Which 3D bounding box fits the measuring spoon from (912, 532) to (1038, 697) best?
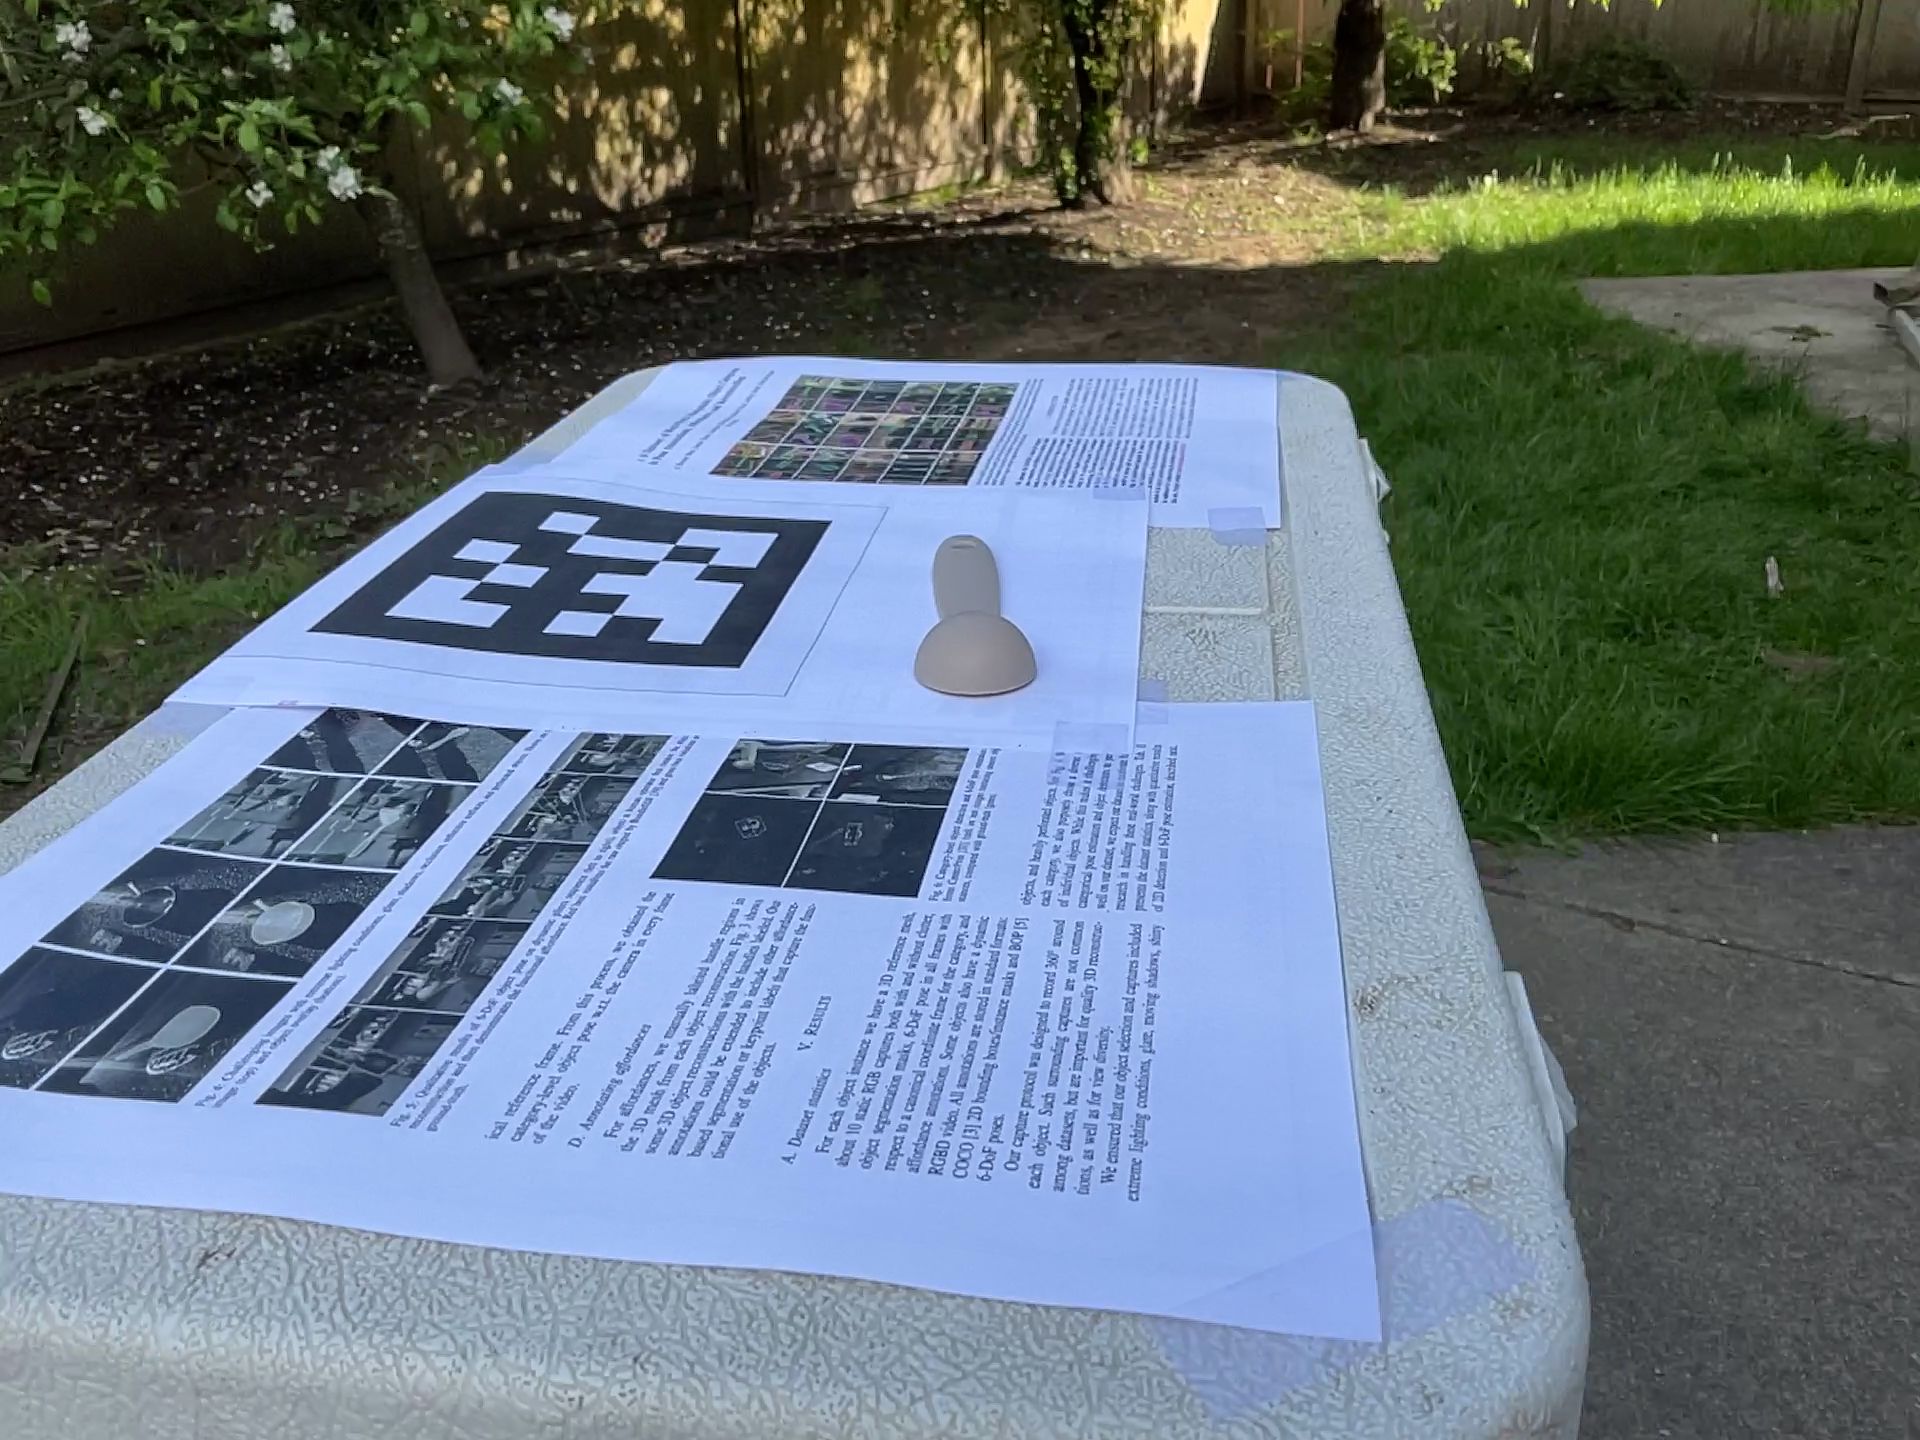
[{"bbox_3d":[0.002,-0.039,0.474,0.034,0.018,0.124,-2,26,-1],"label":"measuring spoon"}]
